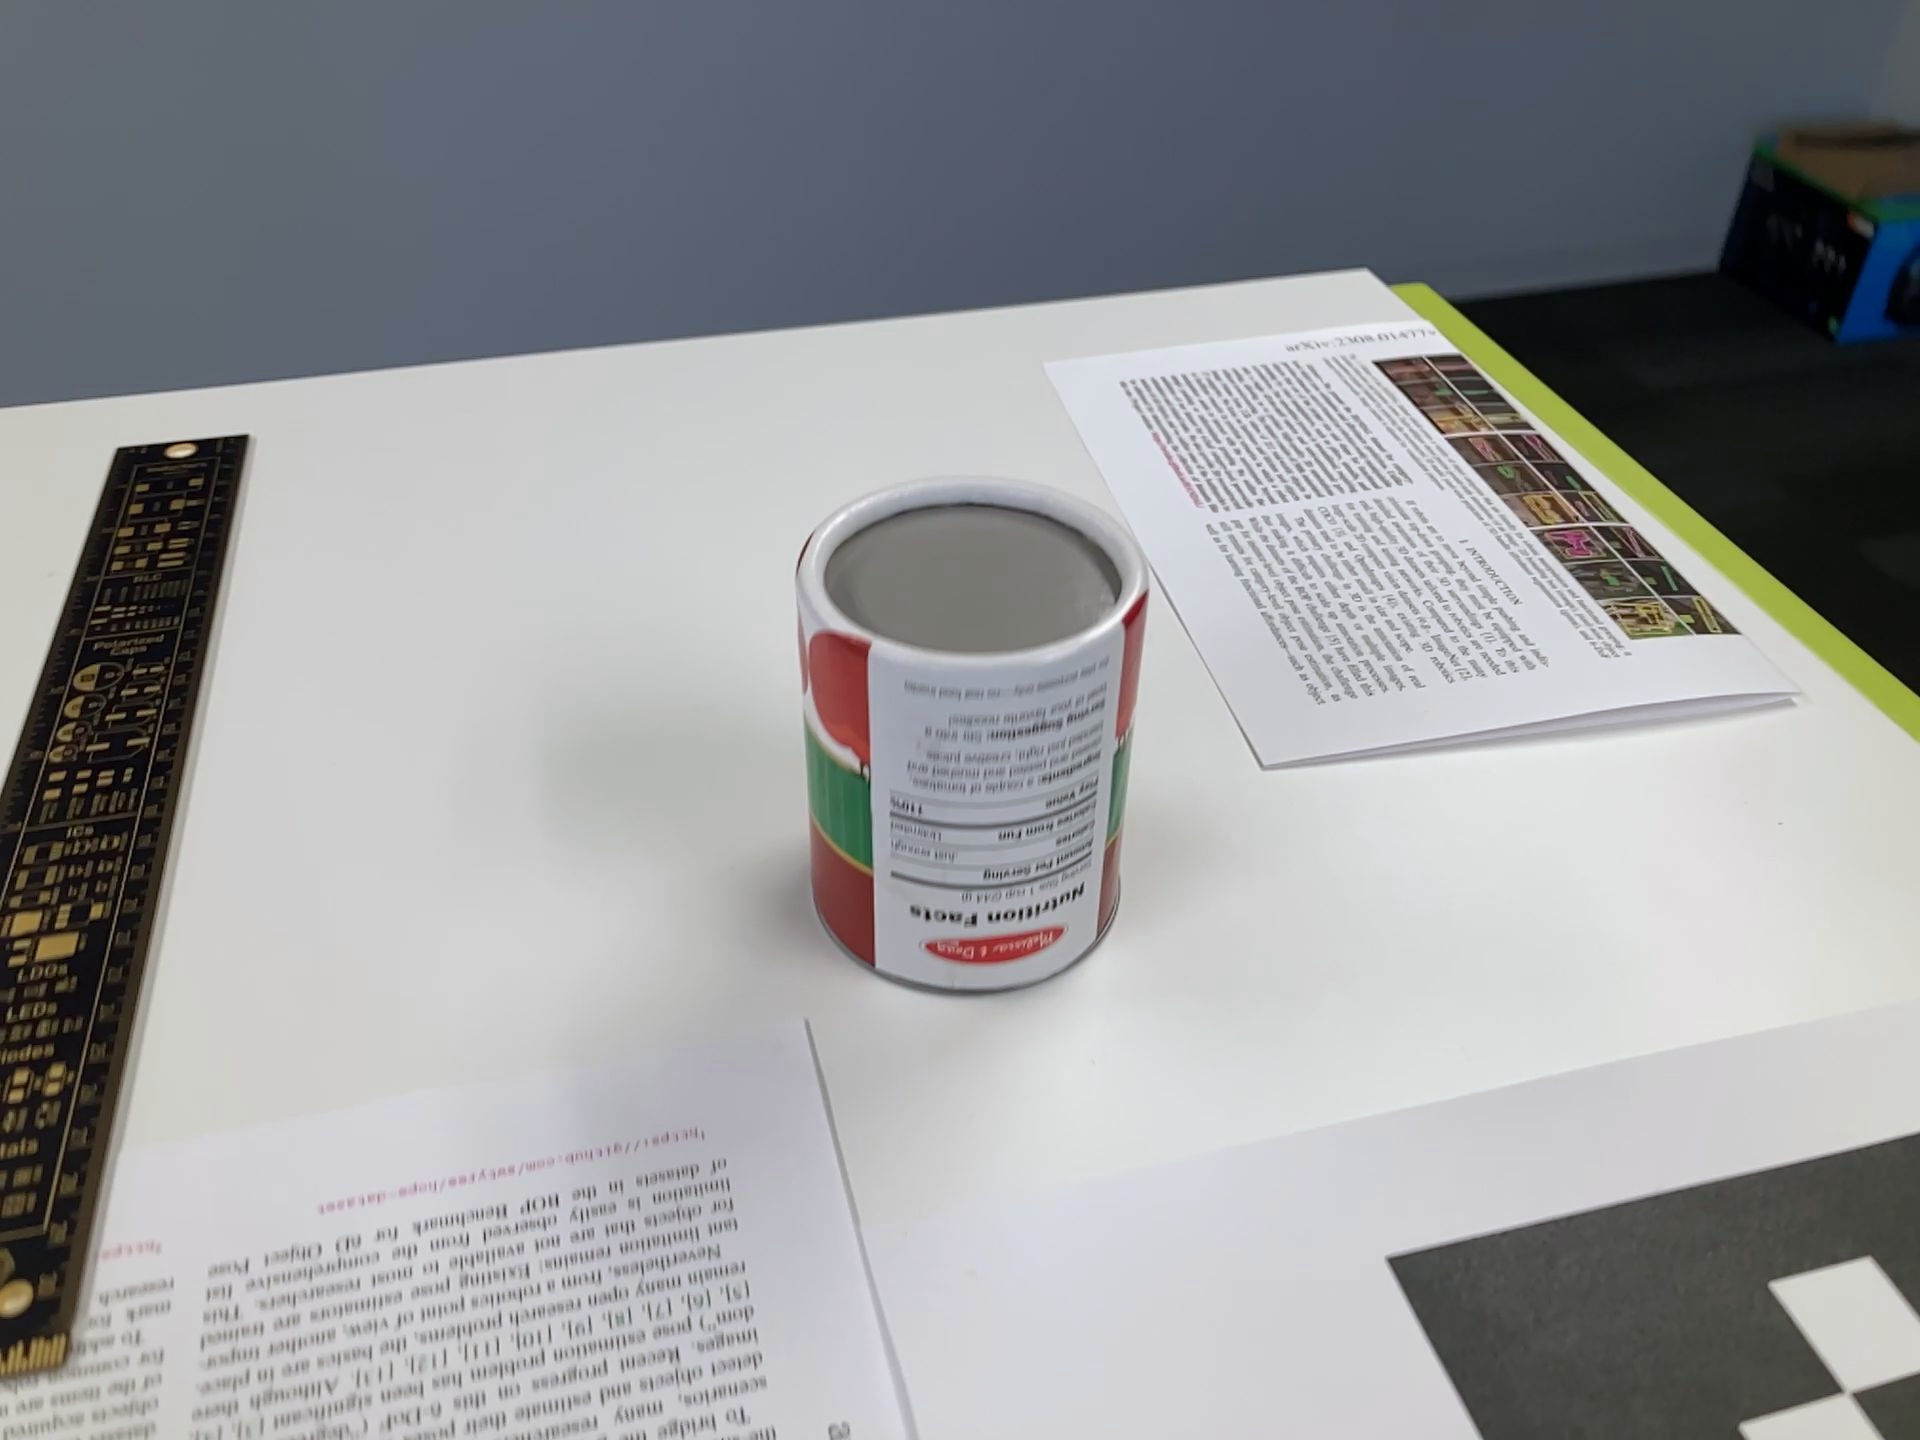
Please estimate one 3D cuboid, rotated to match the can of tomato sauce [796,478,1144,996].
[{"bbox_3d":[0.002,0.002,0.322,0.071,0.083,0.071,-1,38,1],"label":"can of tomato sauce"}]
